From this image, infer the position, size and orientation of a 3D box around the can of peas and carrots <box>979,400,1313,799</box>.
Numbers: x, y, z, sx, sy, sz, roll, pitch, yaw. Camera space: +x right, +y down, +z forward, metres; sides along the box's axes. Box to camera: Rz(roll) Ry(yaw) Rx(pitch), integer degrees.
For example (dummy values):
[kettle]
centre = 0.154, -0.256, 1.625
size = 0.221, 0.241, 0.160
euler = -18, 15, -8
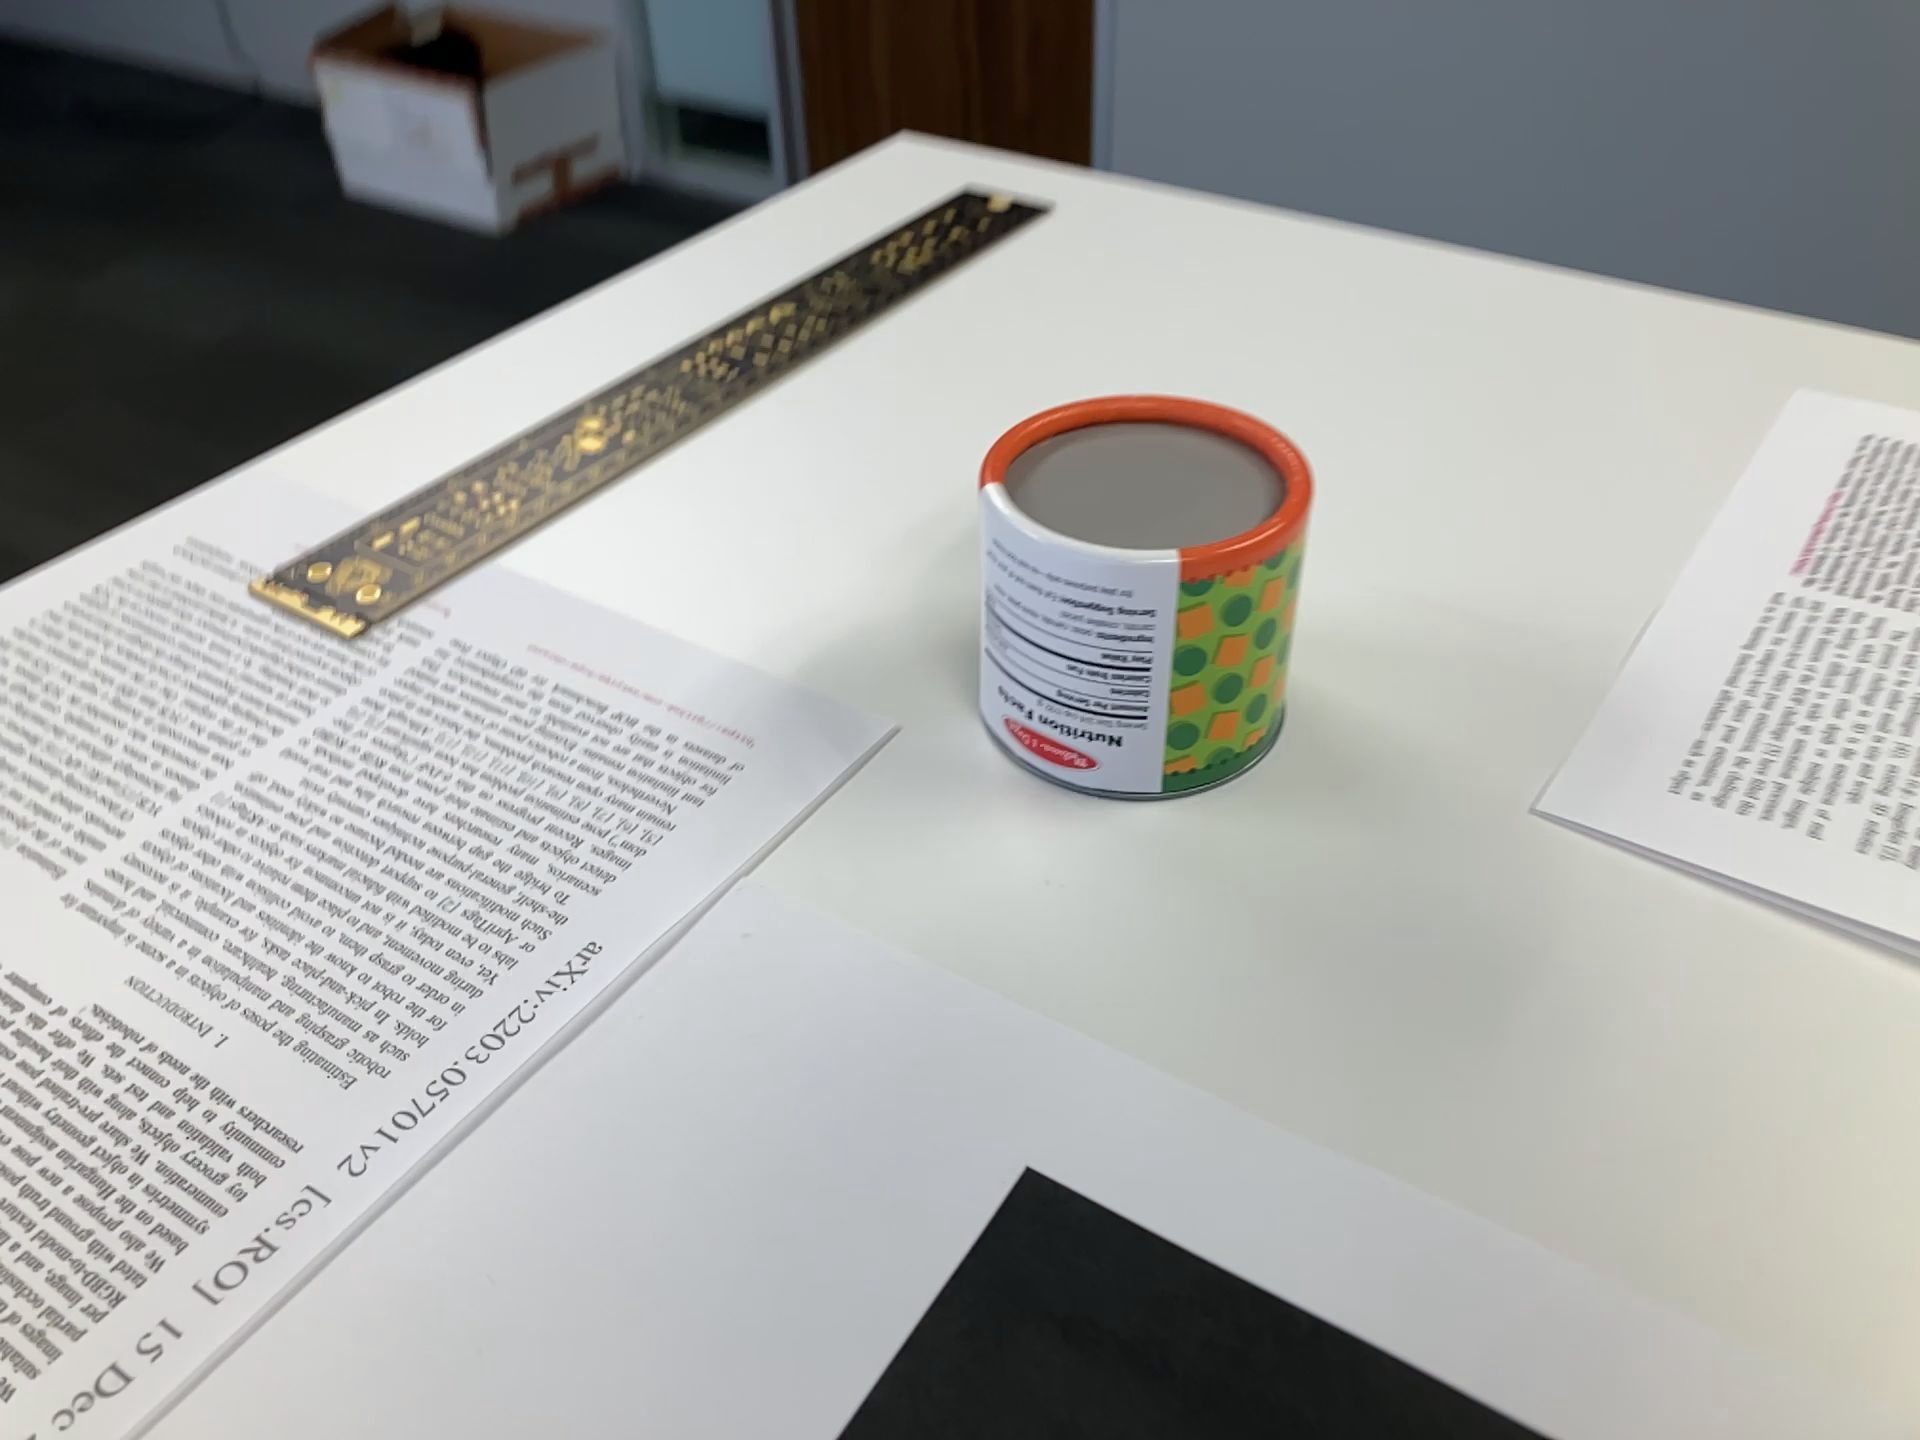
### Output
[can of peas and carrots]
centre = 0.038, -0.028, 0.334
size = 0.071, 0.059, 0.071
euler = 0, 39, 0
